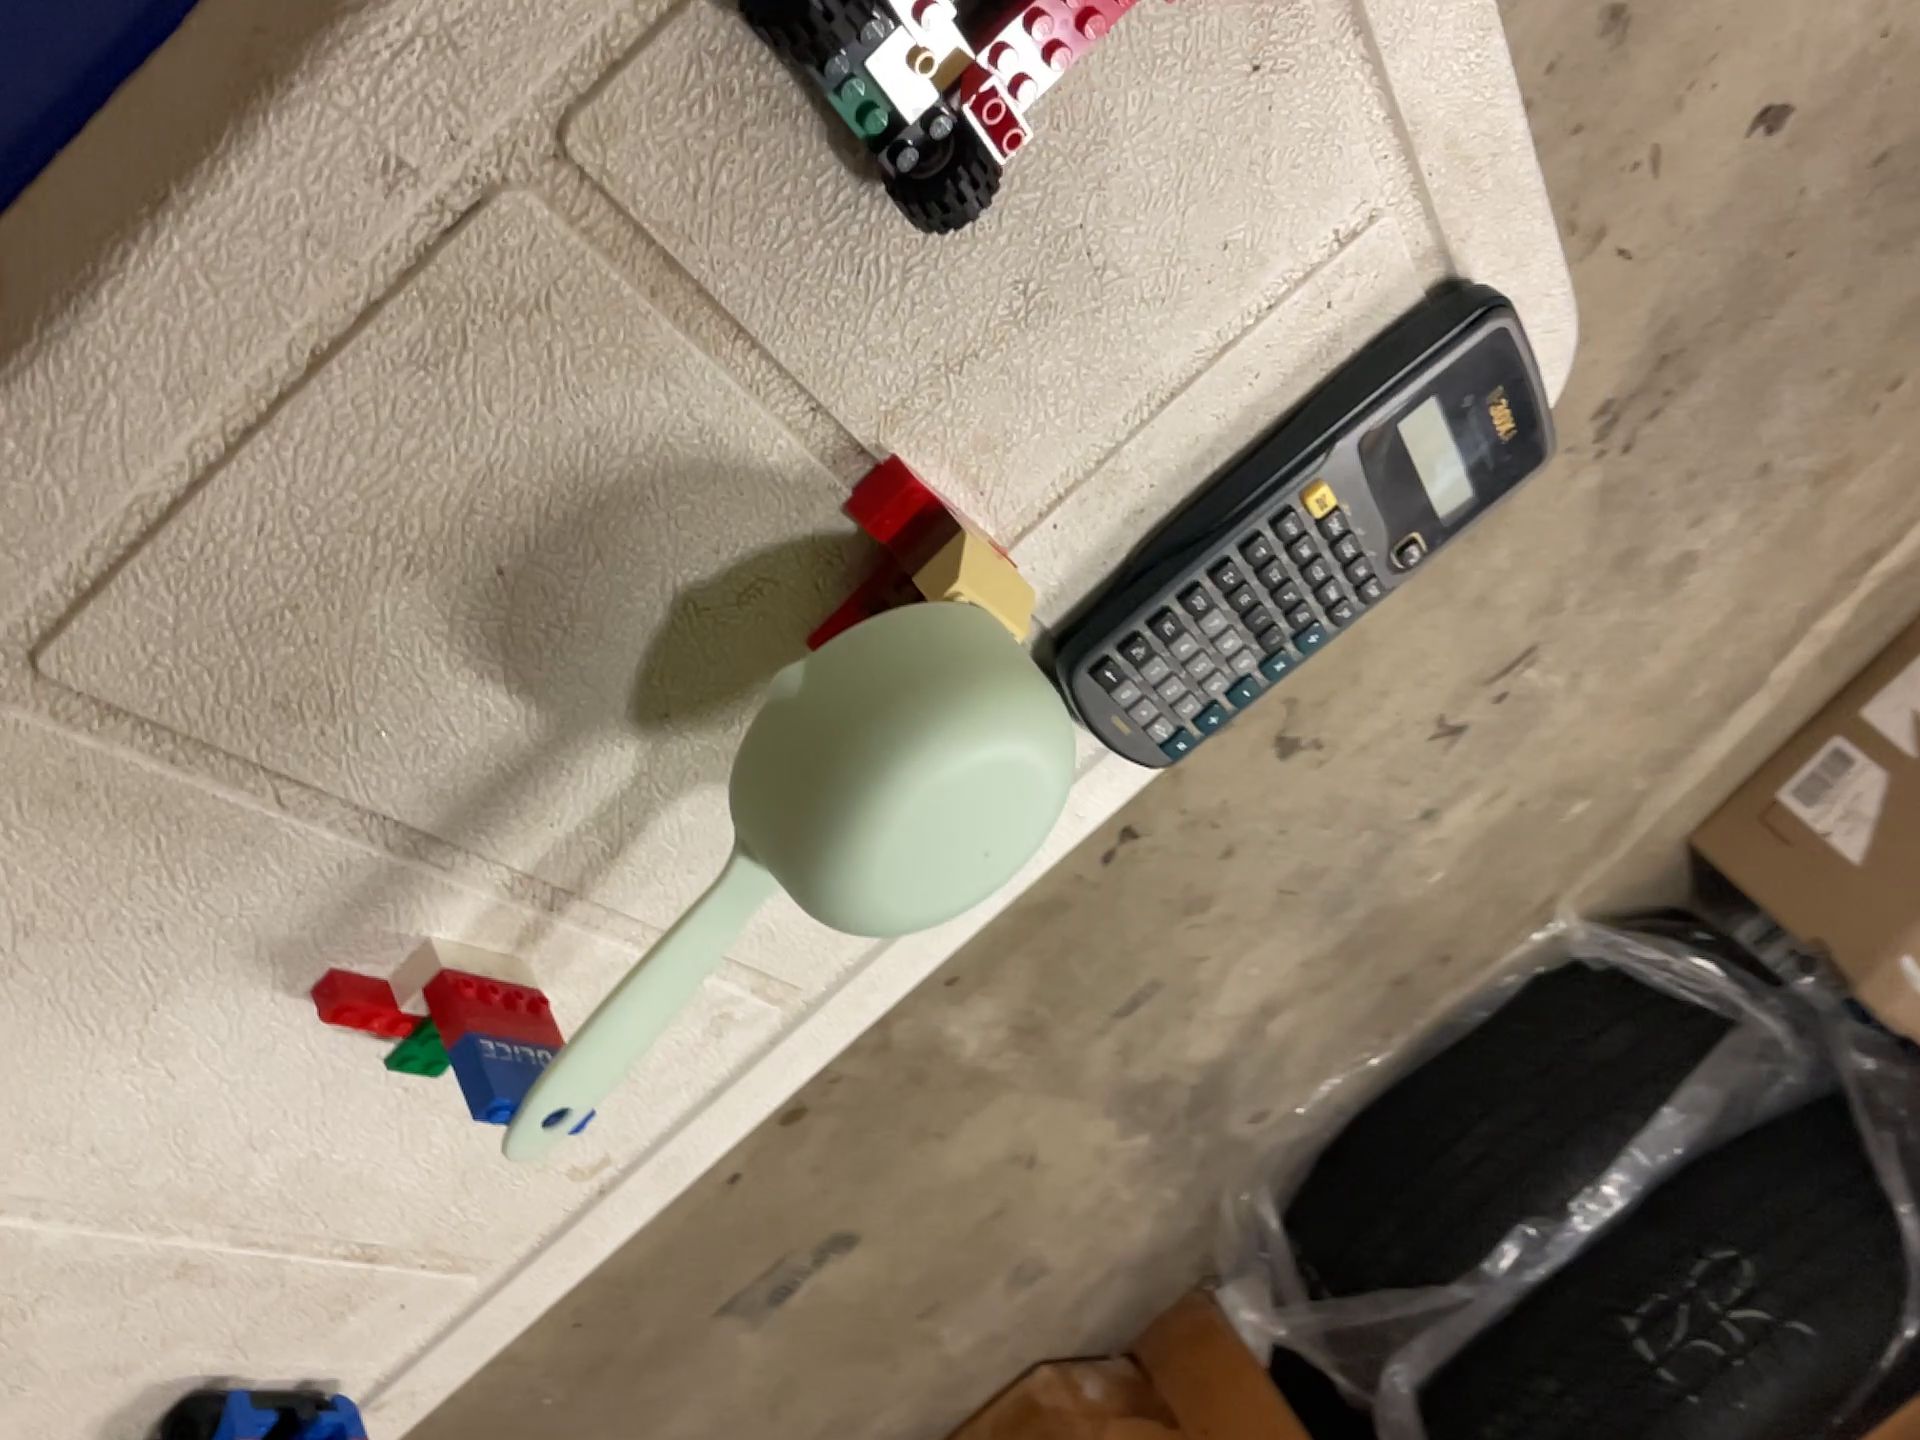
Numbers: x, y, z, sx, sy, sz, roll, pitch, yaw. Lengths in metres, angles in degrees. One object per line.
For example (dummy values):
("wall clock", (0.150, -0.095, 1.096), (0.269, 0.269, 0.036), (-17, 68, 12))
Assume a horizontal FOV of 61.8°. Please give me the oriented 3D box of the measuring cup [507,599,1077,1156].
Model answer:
("measuring cup", (-0.039, 0.048, 0.359), (0.167, 0.038, 0.083), (-48, 145, 5))
